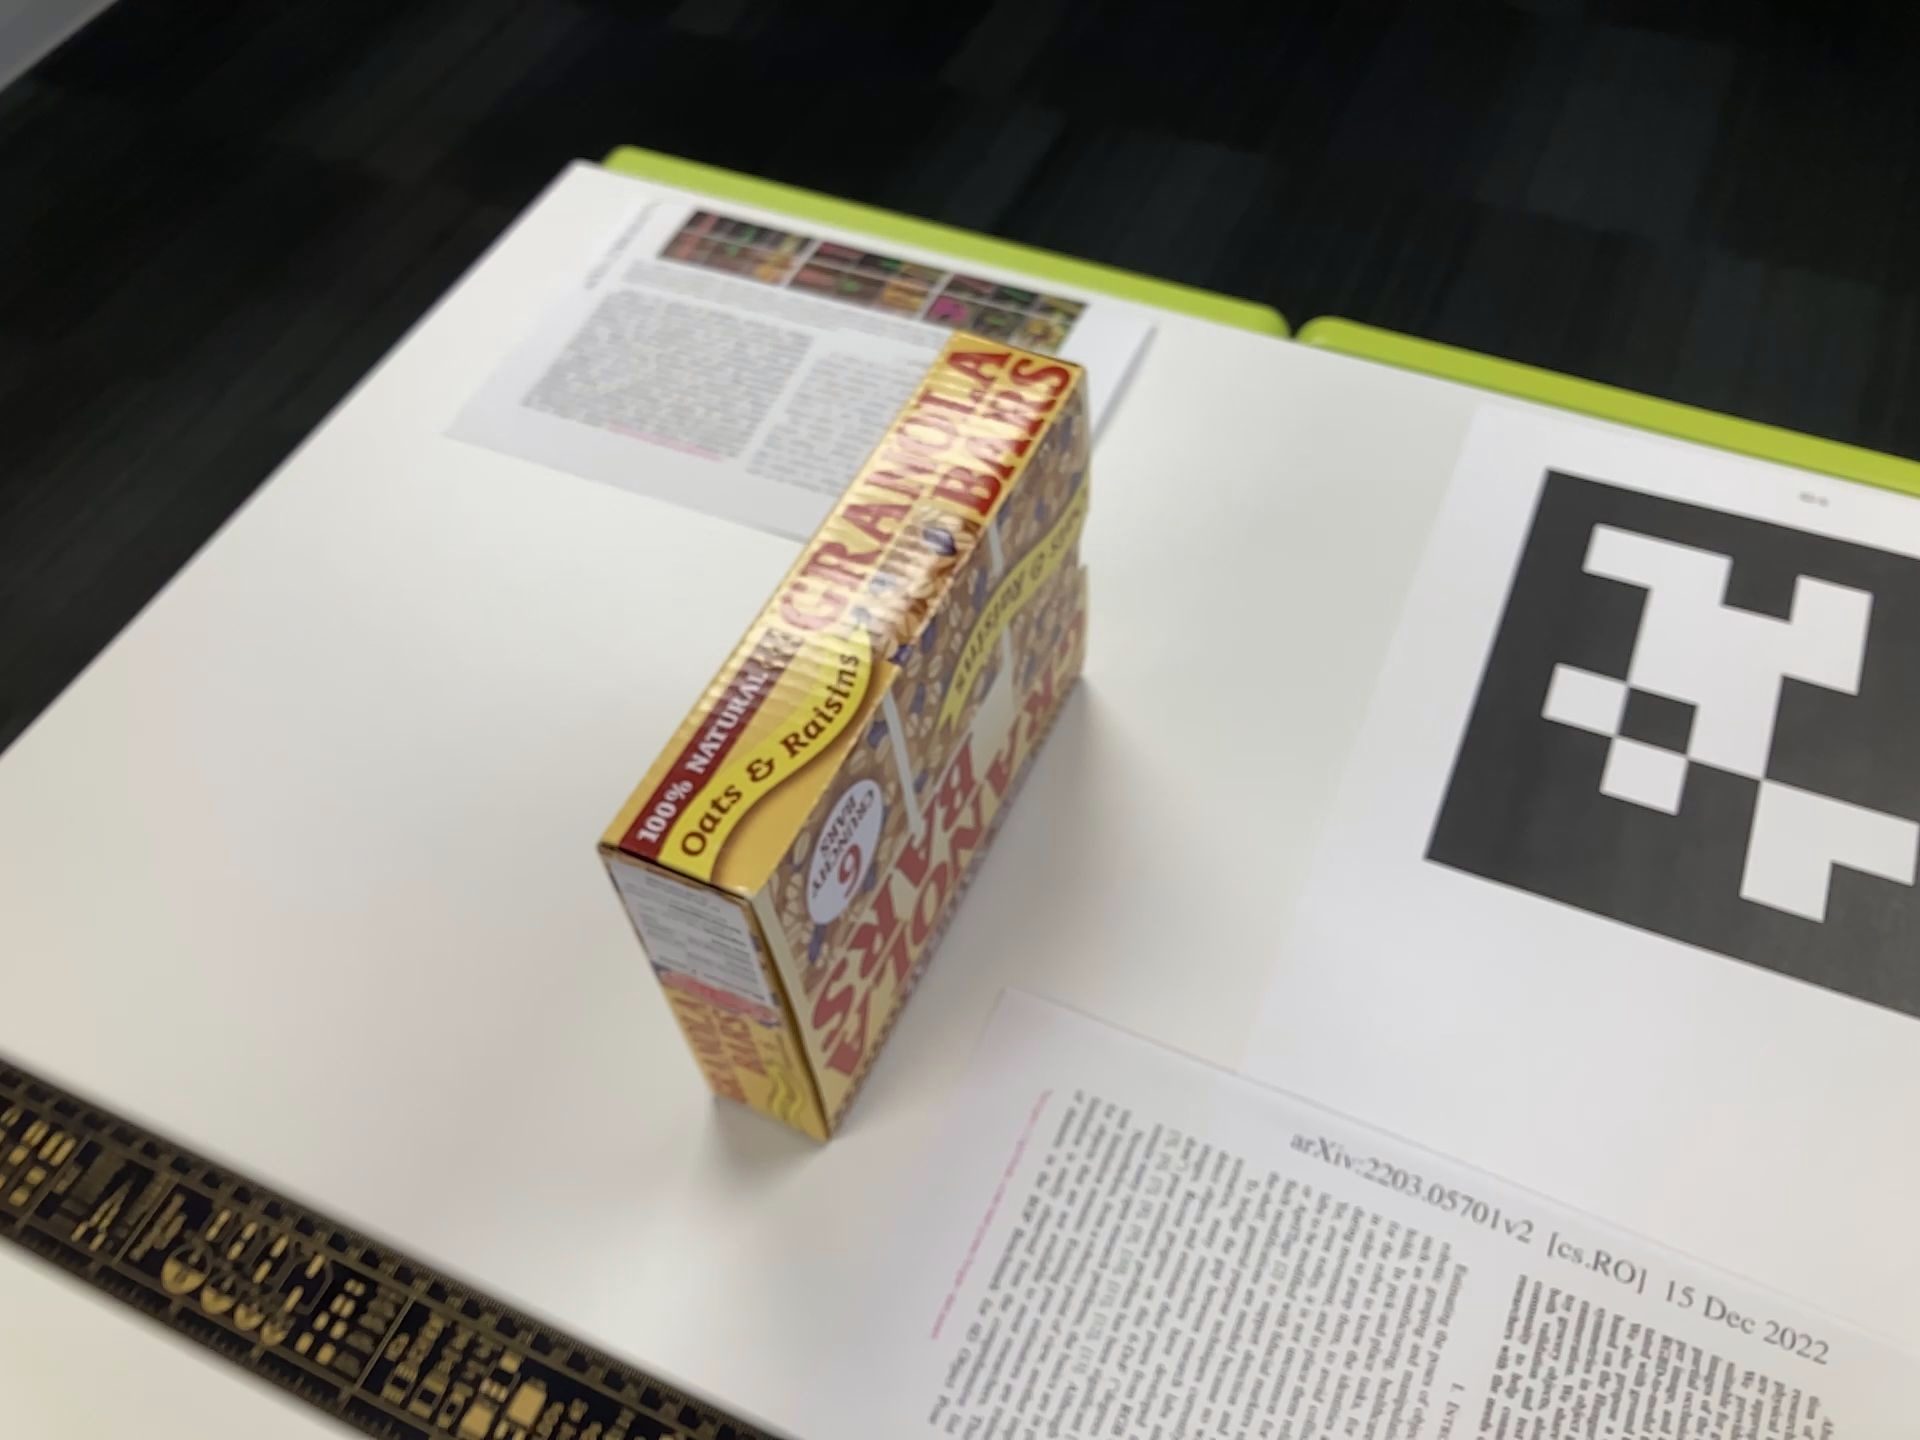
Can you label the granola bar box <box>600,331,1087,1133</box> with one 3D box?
[{"bbox_3d":[-0.016,0.004,0.404,0.039,0.124,0.165,19,58,17],"label":"granola bar box"}]
